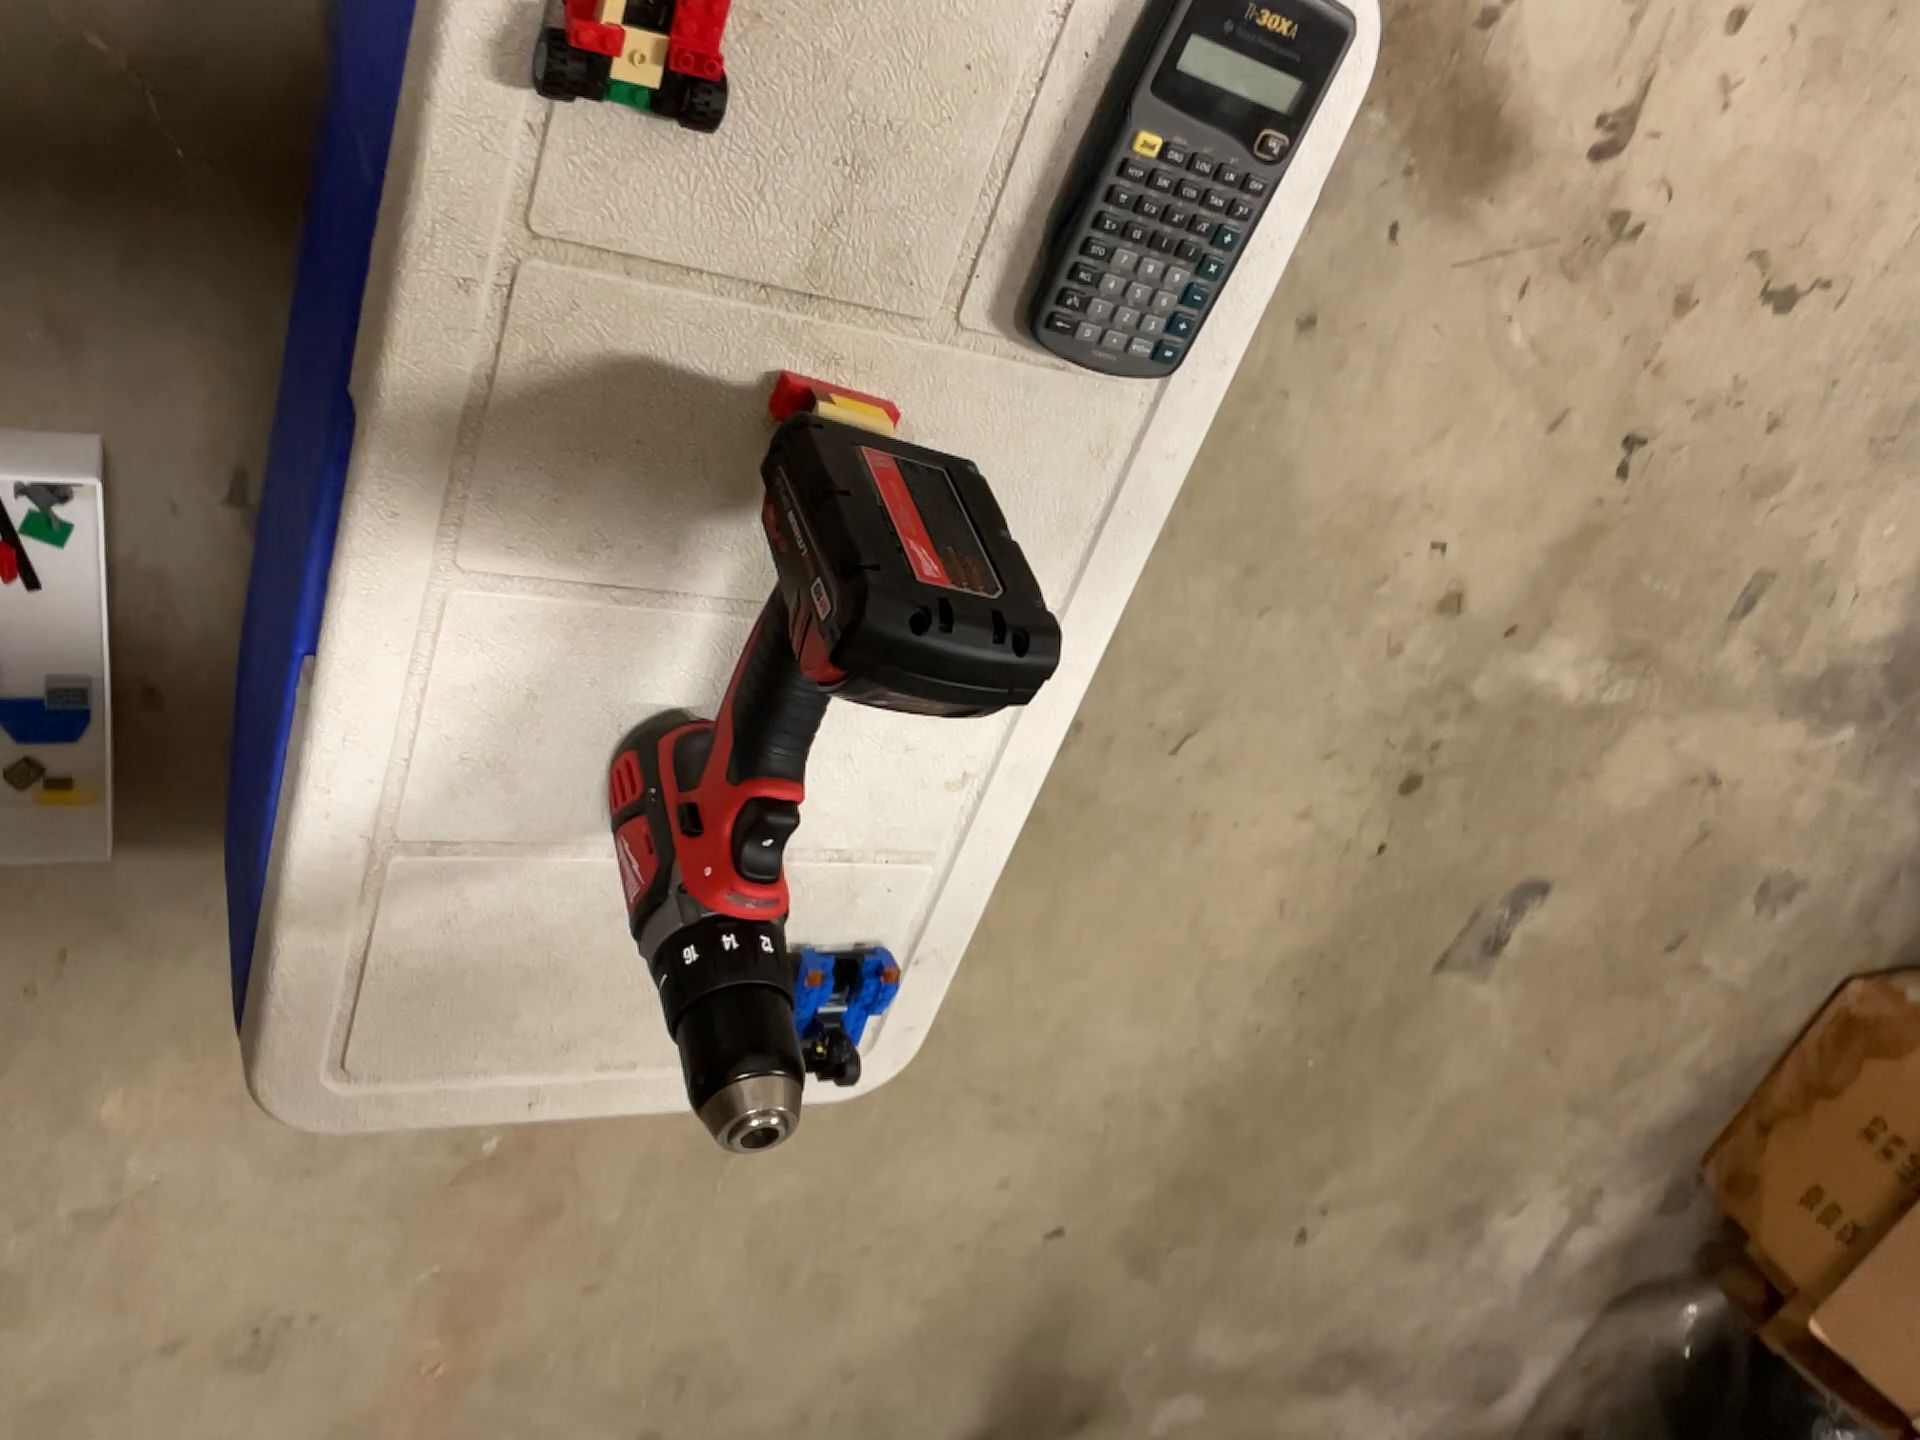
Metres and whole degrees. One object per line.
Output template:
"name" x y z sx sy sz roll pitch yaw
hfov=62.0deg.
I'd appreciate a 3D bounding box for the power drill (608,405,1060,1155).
"power drill" -0.058 0.025 0.577 0.080 0.188 0.226 11 130 -32
